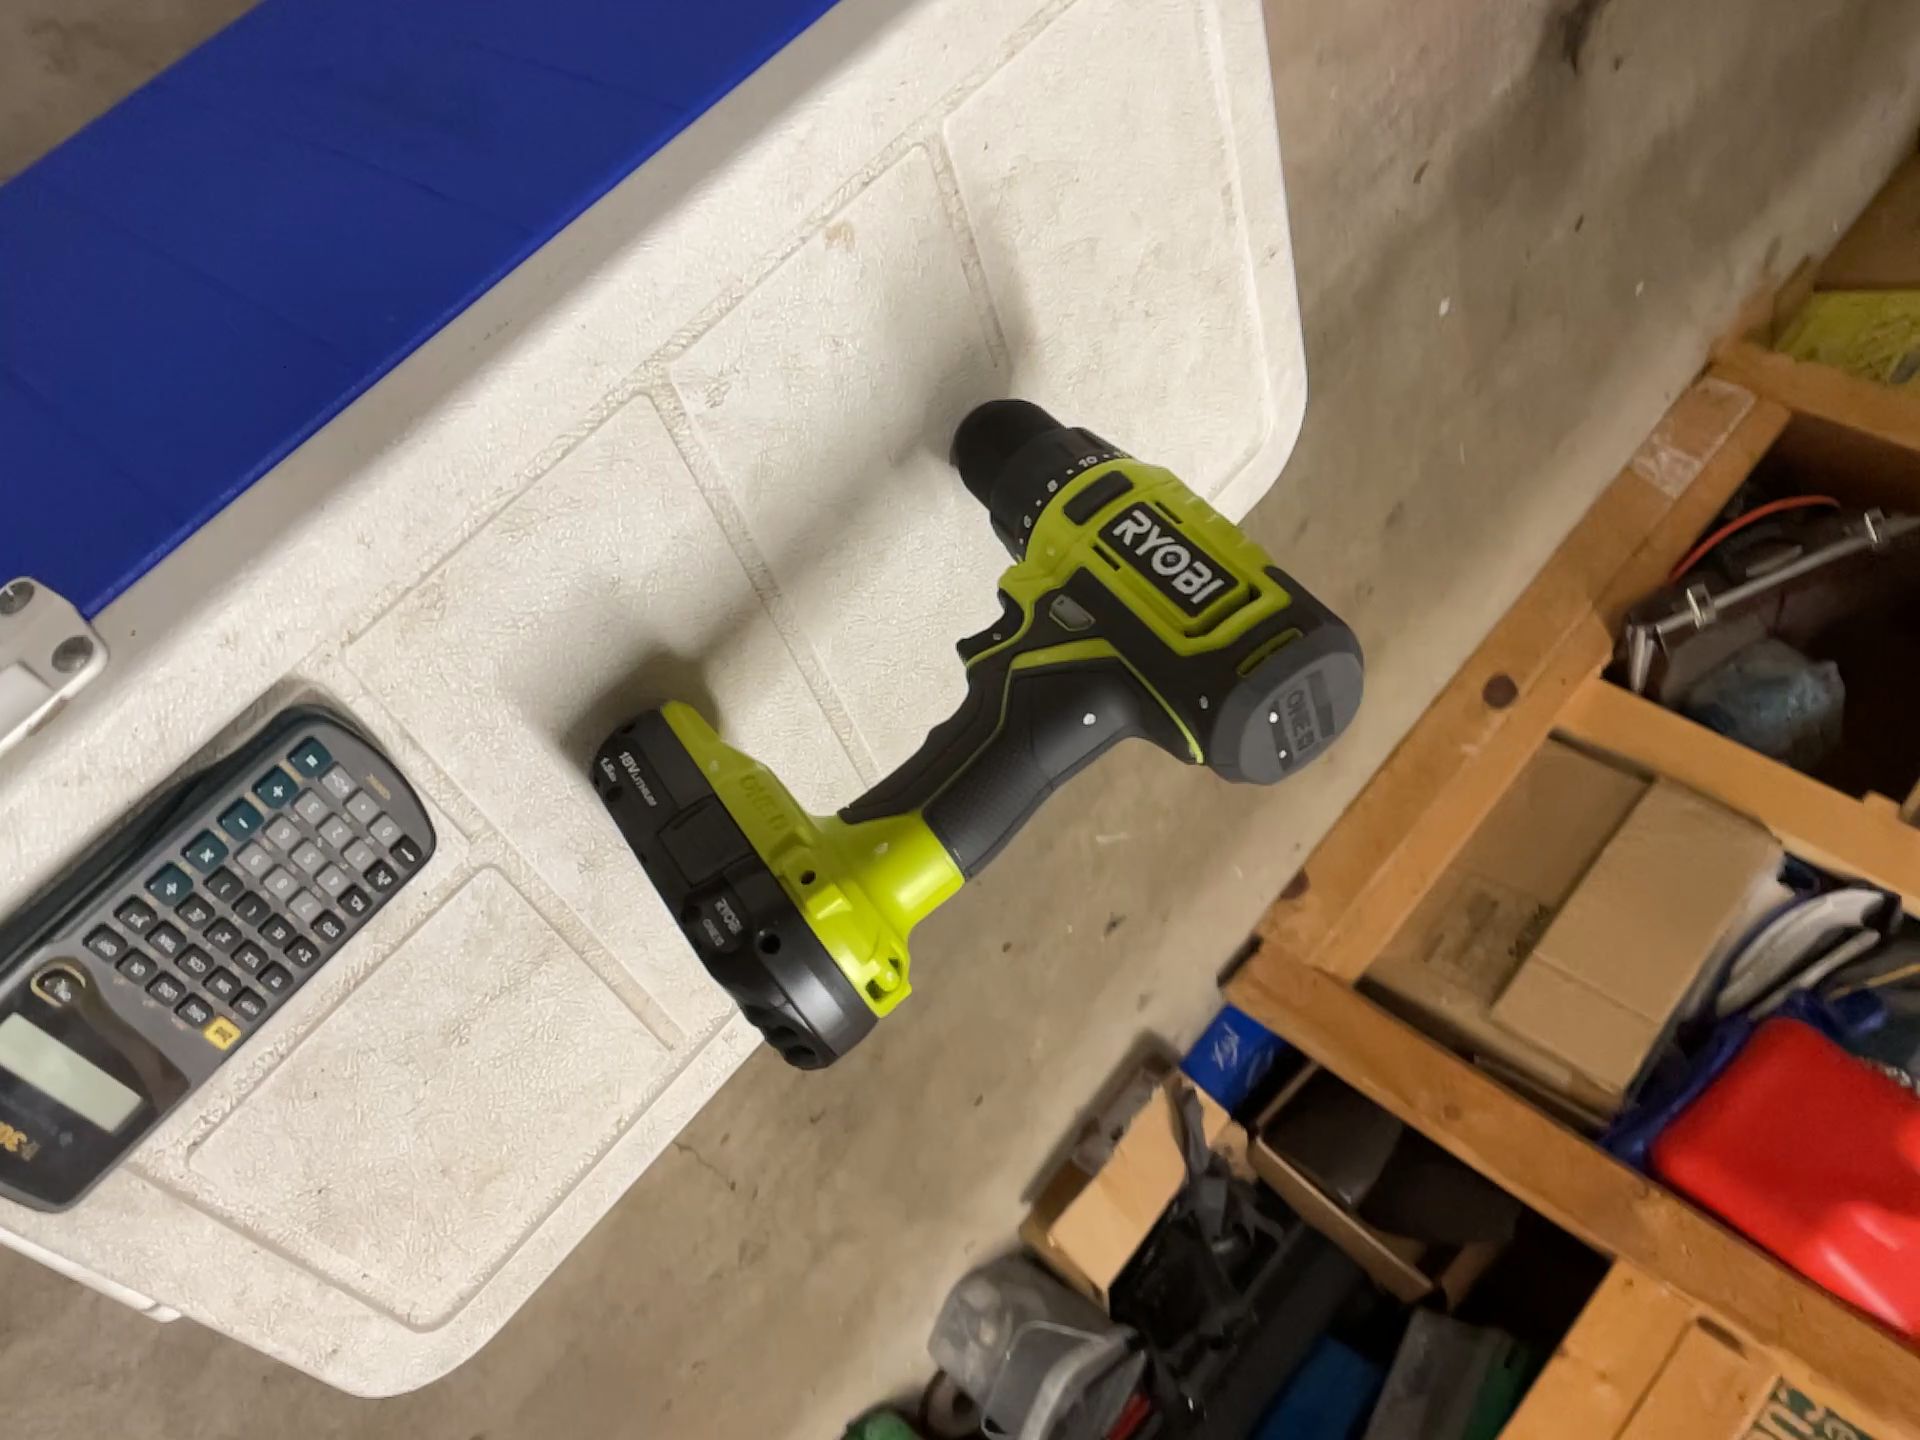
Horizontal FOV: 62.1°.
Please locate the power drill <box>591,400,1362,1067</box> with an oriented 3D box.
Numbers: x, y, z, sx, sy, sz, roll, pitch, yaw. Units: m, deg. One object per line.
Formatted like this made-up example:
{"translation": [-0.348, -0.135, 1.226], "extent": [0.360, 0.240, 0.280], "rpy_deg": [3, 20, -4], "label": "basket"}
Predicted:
{"translation": [-0.005, -0.010, 0.553], "extent": [0.228, 0.190, 0.080], "rpy_deg": [-36, 142, -7], "label": "power drill"}
